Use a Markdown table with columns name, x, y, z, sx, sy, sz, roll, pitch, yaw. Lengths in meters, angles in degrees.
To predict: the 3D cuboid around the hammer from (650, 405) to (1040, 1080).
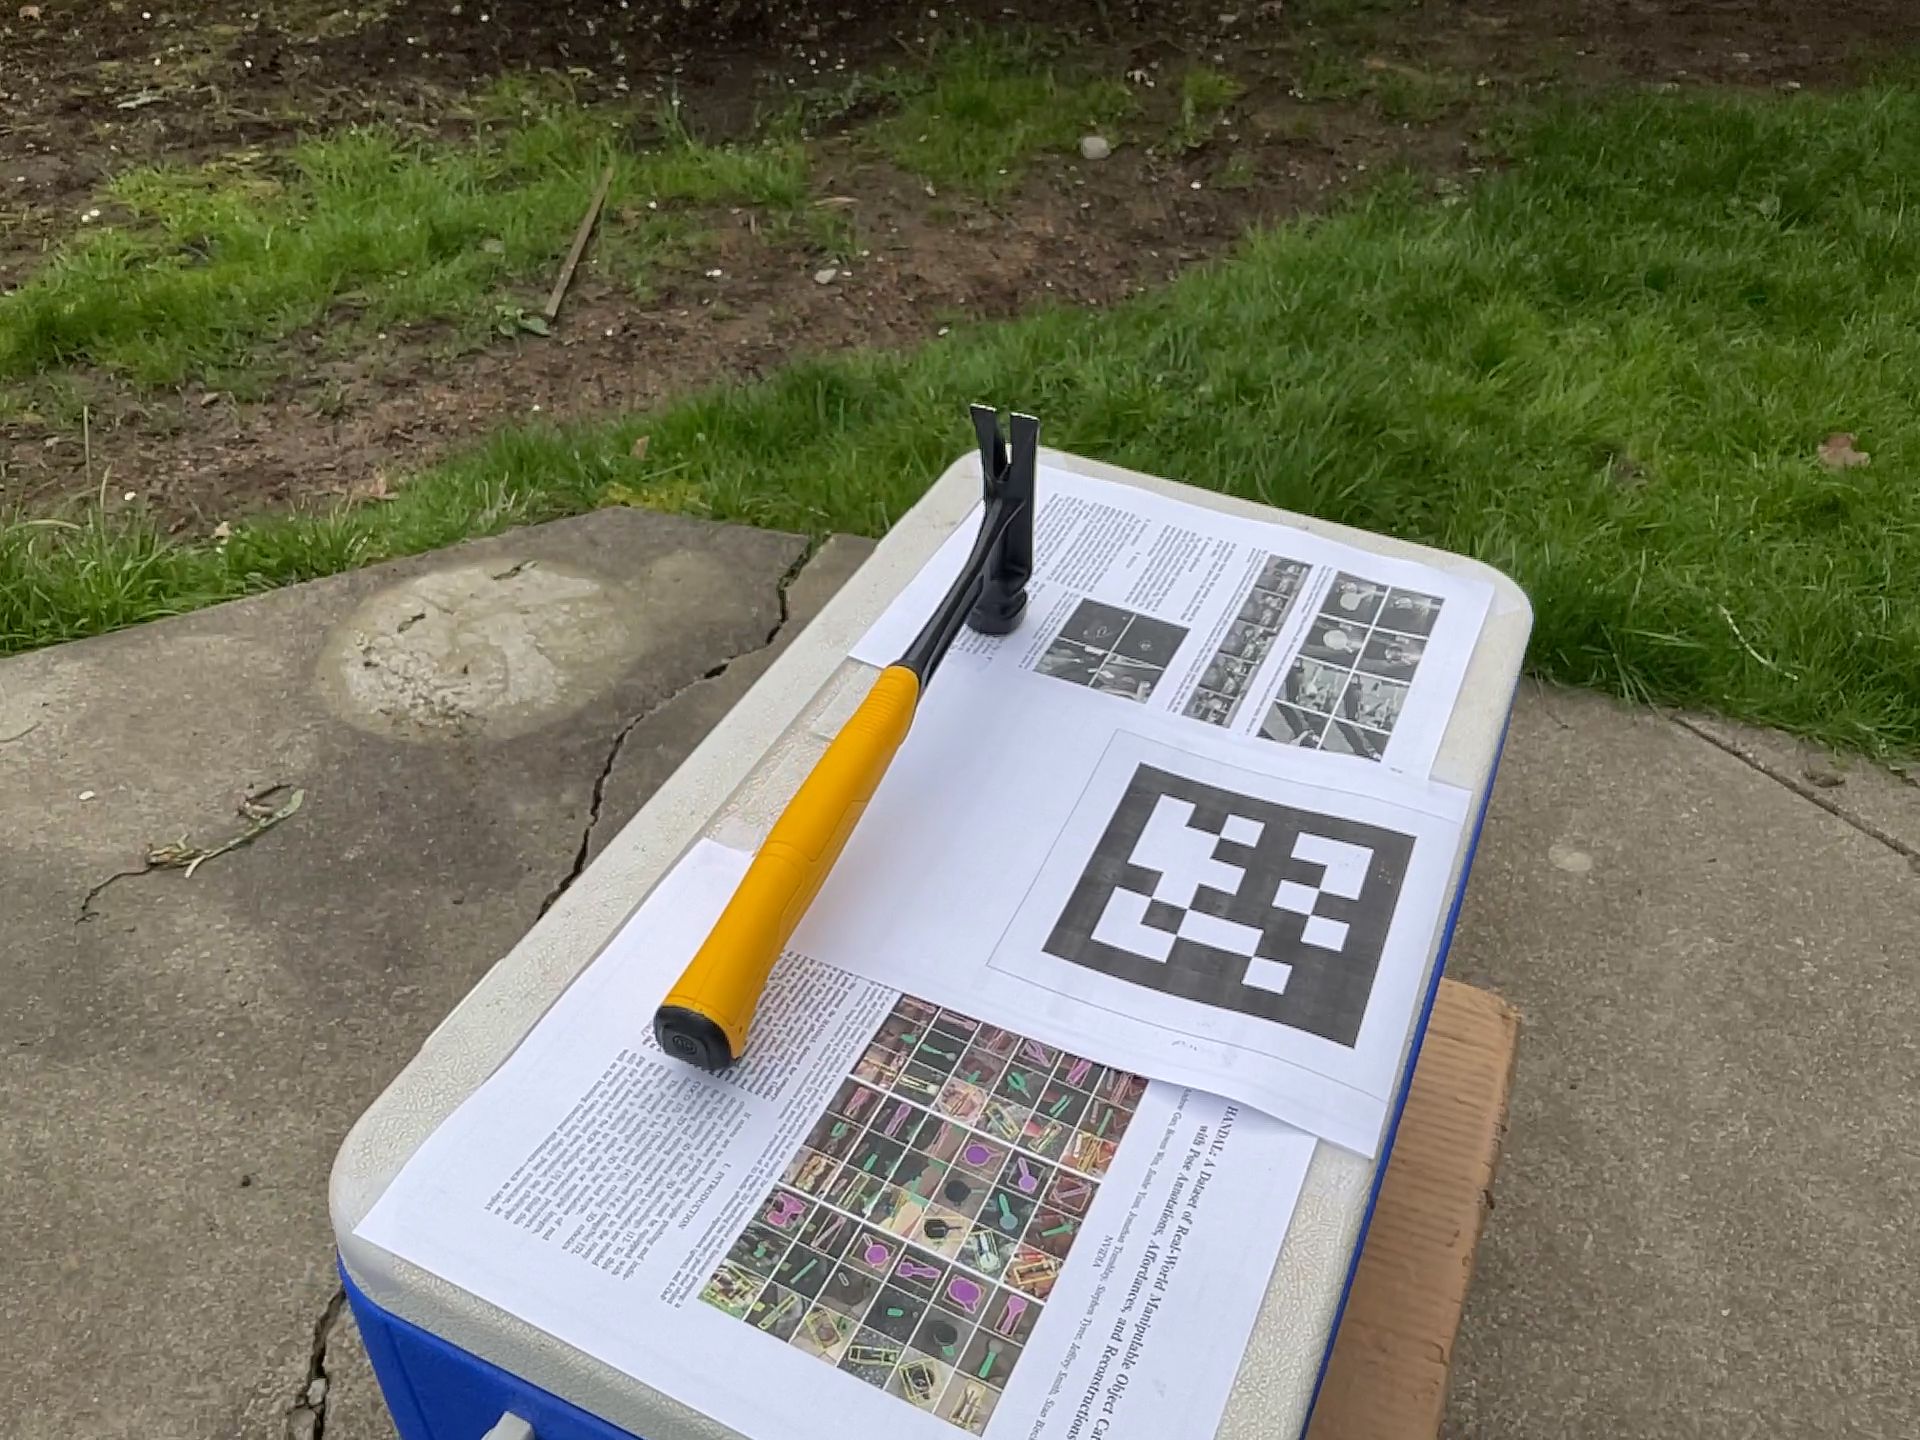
| name | x | y | z | sx | sy | sz | roll | pitch | yaw |
| --- | --- | --- | --- | --- | --- | --- | --- | --- | --- |
| hammer | -0.037 | 0.005 | 0.675 | 0.034 | 0.127 | 0.337 | 16 | 47 | 15 |
